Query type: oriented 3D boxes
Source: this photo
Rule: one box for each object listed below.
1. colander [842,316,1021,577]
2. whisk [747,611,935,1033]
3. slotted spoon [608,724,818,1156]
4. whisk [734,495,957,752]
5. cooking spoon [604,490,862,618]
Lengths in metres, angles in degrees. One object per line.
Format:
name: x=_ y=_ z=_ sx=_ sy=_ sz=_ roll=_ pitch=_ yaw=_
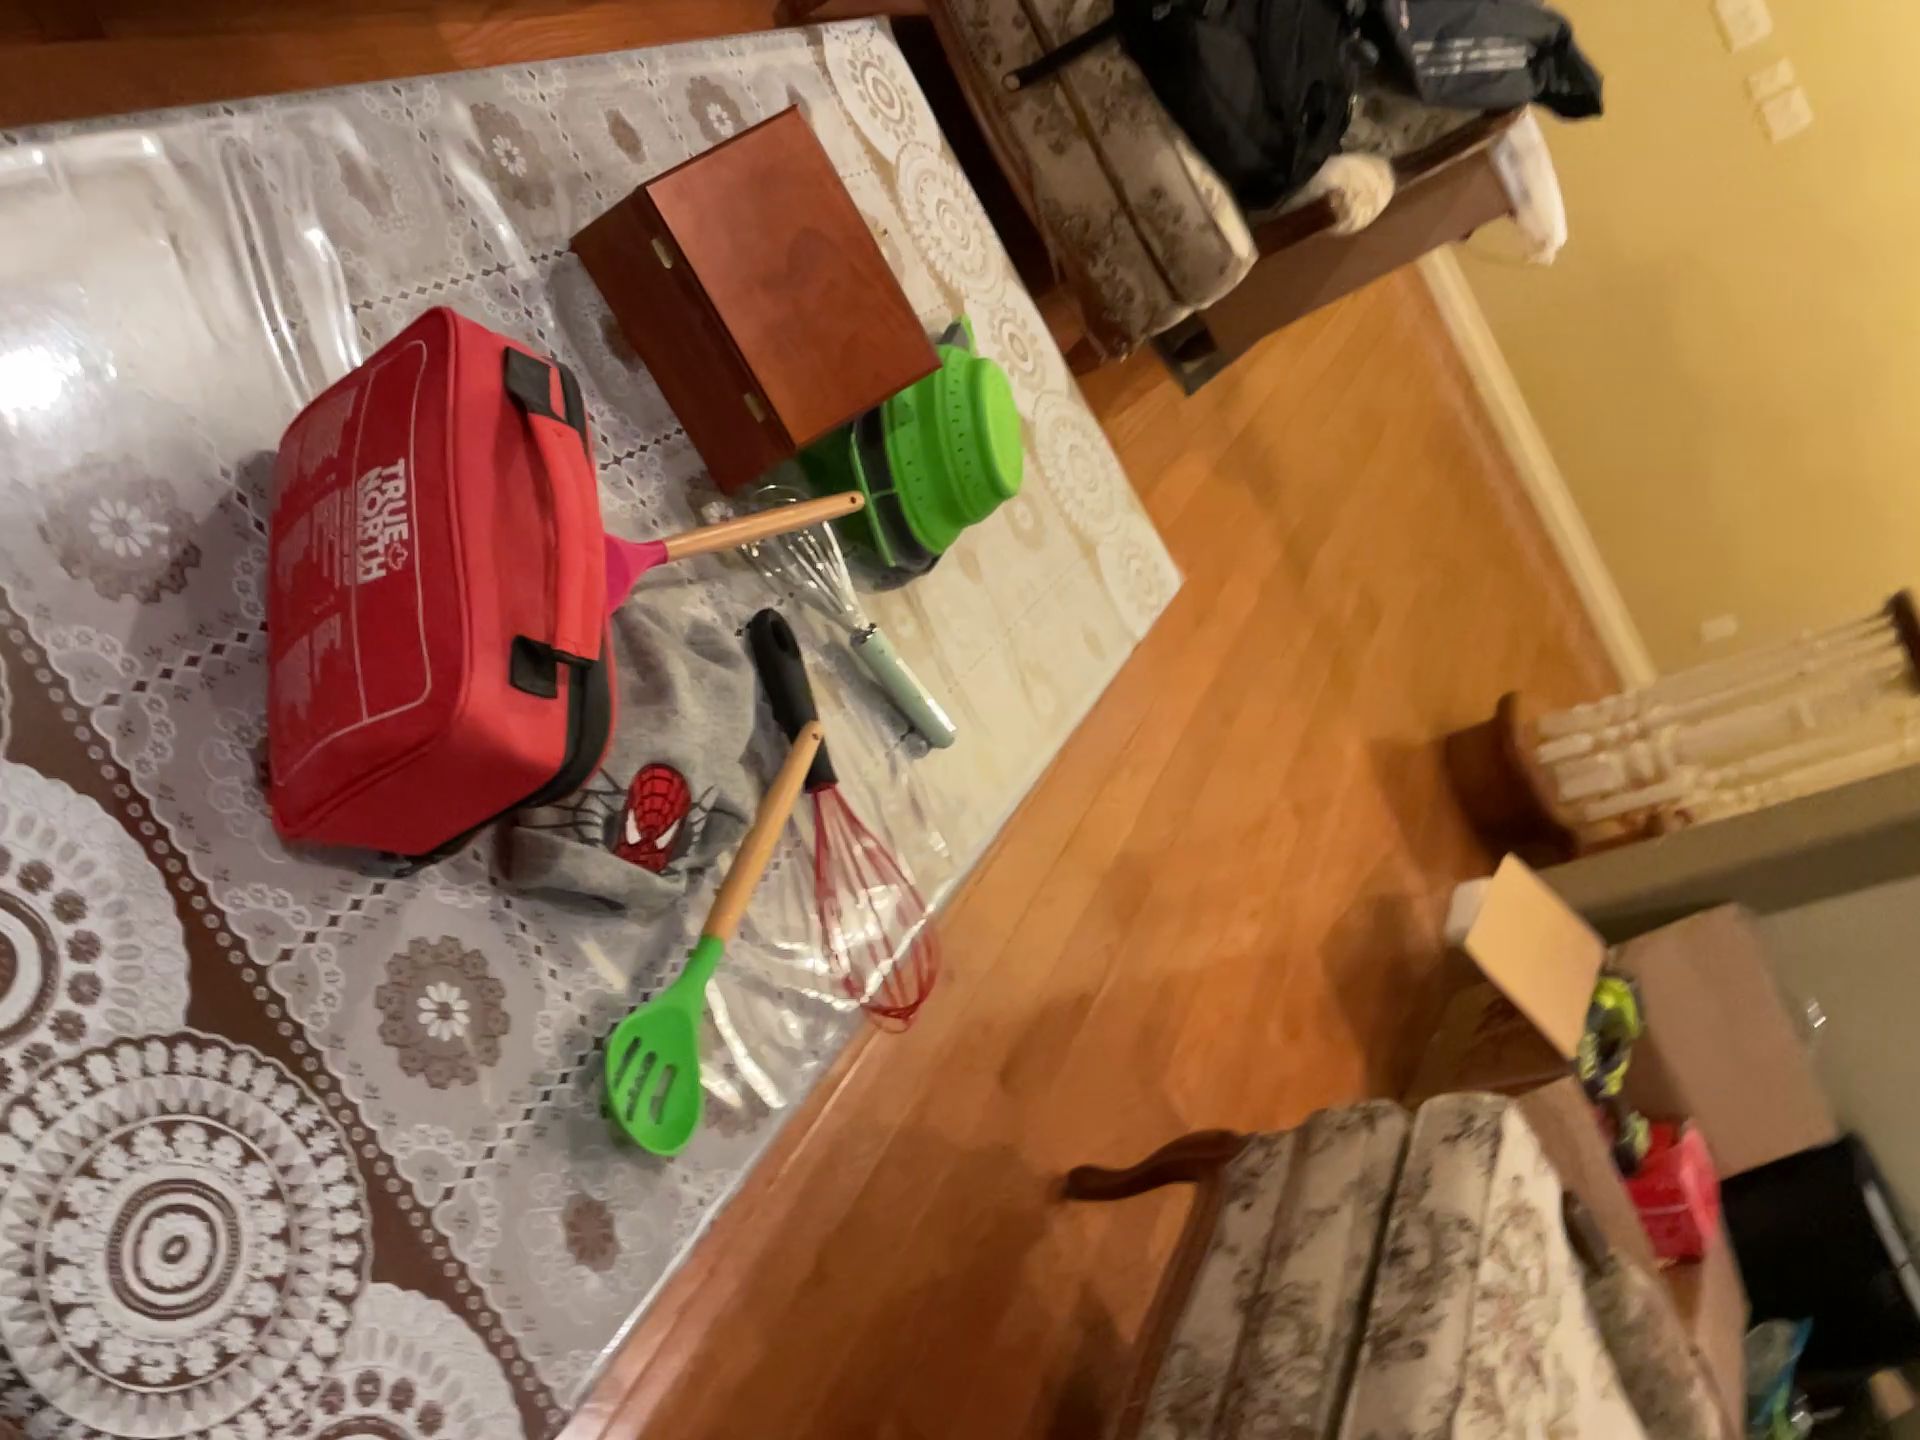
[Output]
colander: x=0.004 y=-0.260 z=1.289 sx=0.397 sy=0.094 sz=0.204 roll=-72 pitch=150 yaw=-57
whisk: x=-0.082 y=0.060 z=1.025 sx=0.073 sy=0.073 sz=0.296 roll=-1 pitch=64 yaw=-50
slotted spoon: x=-0.133 y=0.112 z=0.916 sx=0.070 sy=0.031 sz=0.314 roll=49 pitch=38 yaw=-26
whisk: x=-0.077 y=-0.063 z=1.132 sx=0.058 sy=0.059 sz=0.246 roll=-46 pitch=119 yaw=-12
cooking spoon: x=-0.168 y=-0.108 z=0.987 sx=0.319 sy=0.017 sz=0.069 roll=-25 pitch=93 yaw=-48
